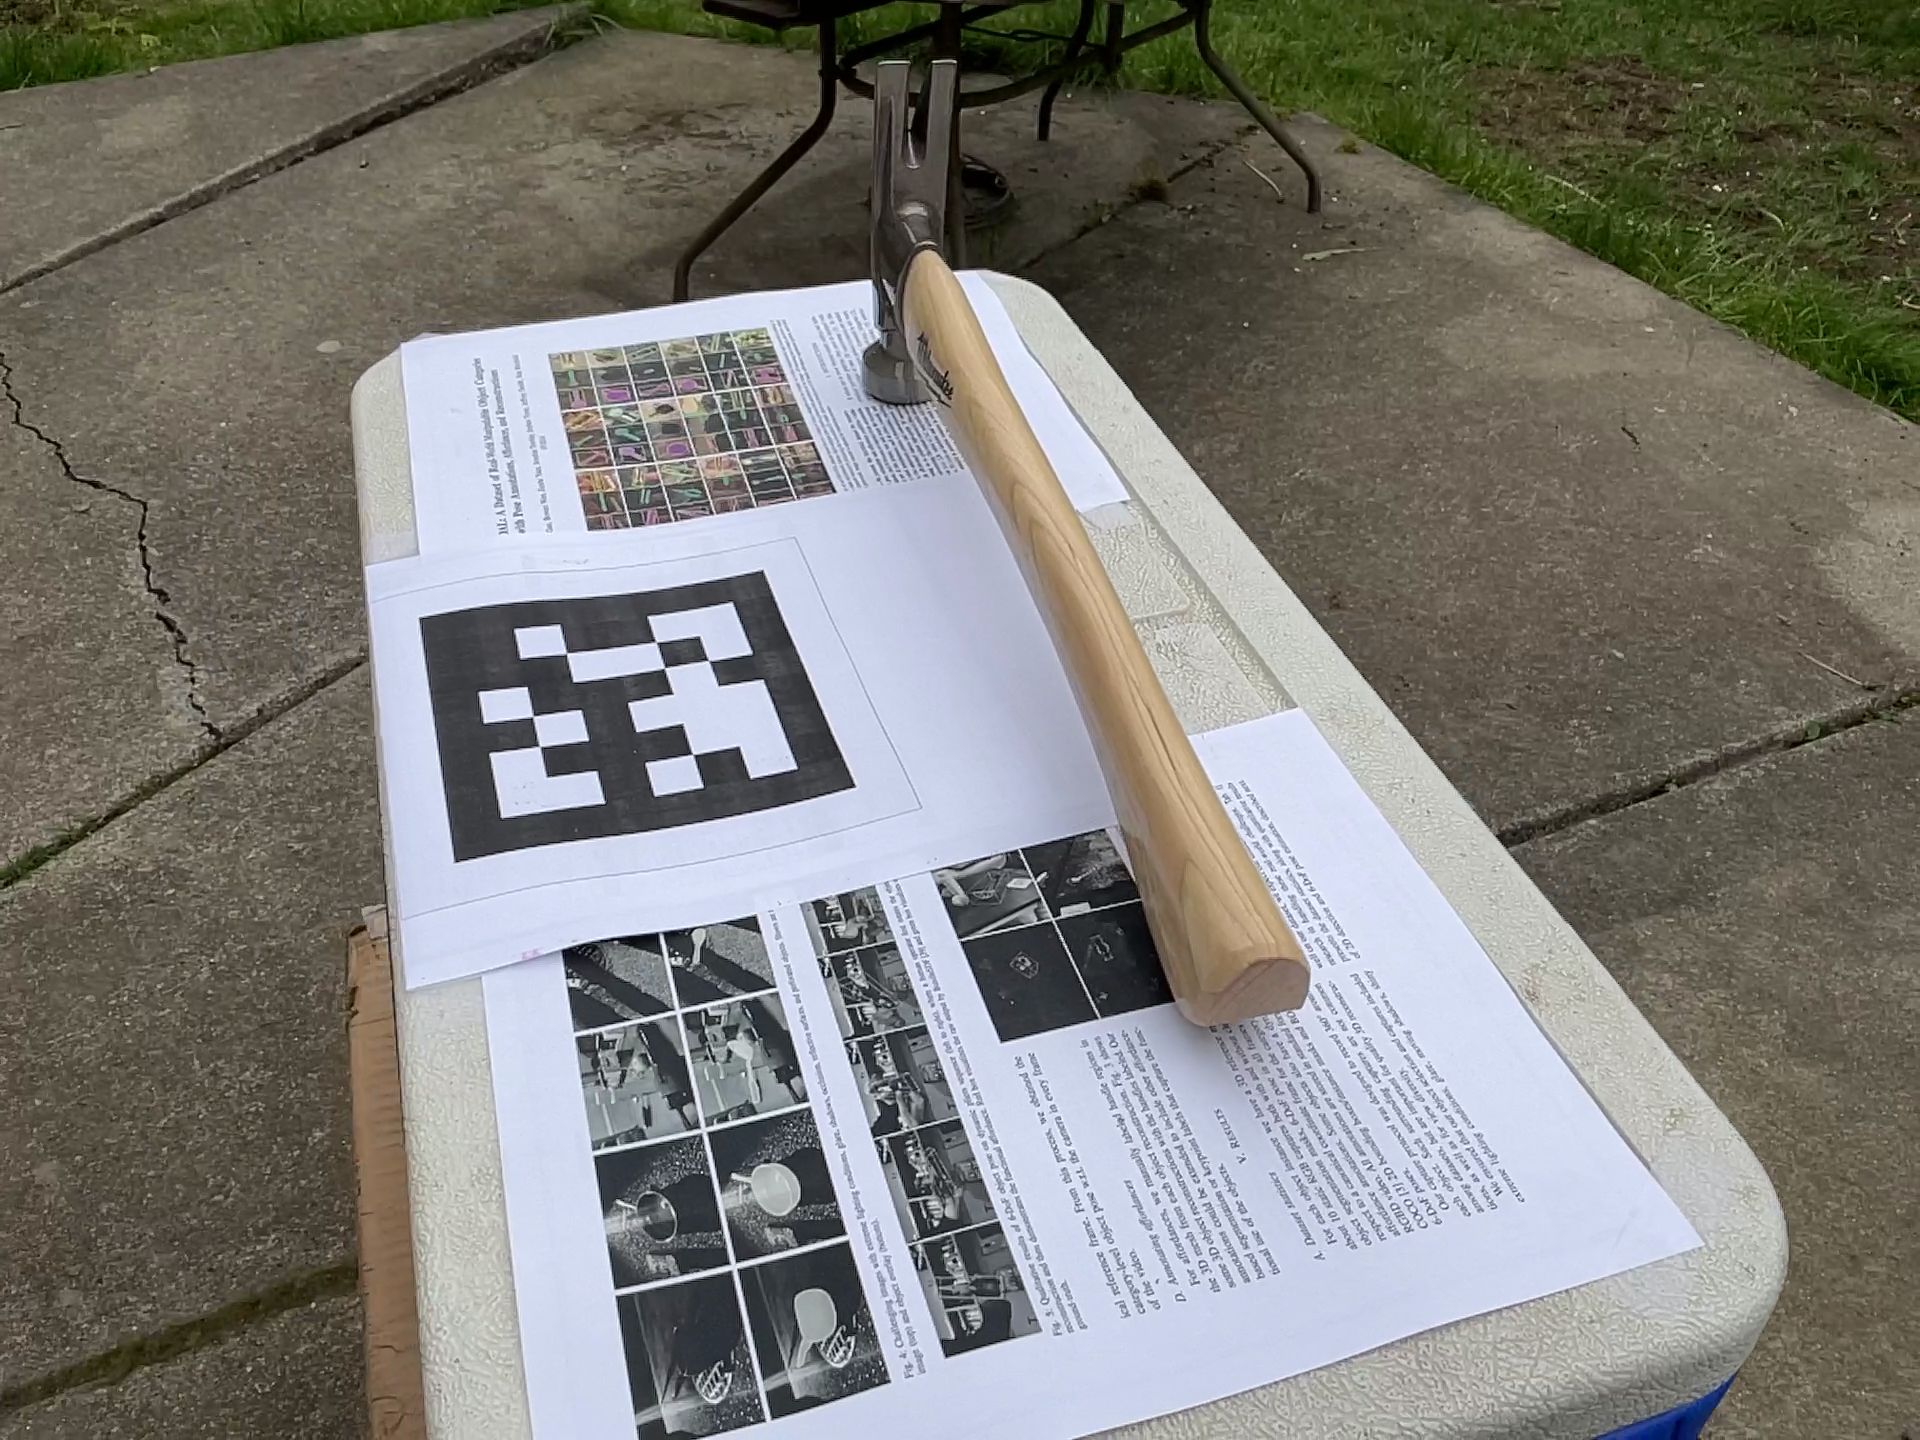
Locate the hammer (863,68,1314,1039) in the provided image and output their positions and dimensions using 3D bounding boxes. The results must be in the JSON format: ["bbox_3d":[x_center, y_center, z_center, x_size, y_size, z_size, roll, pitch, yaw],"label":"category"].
[{"bbox_3d":[0.027,-0.074,0.548,0.038,0.146,0.411,-9,46,-13],"label":"hammer"}]
